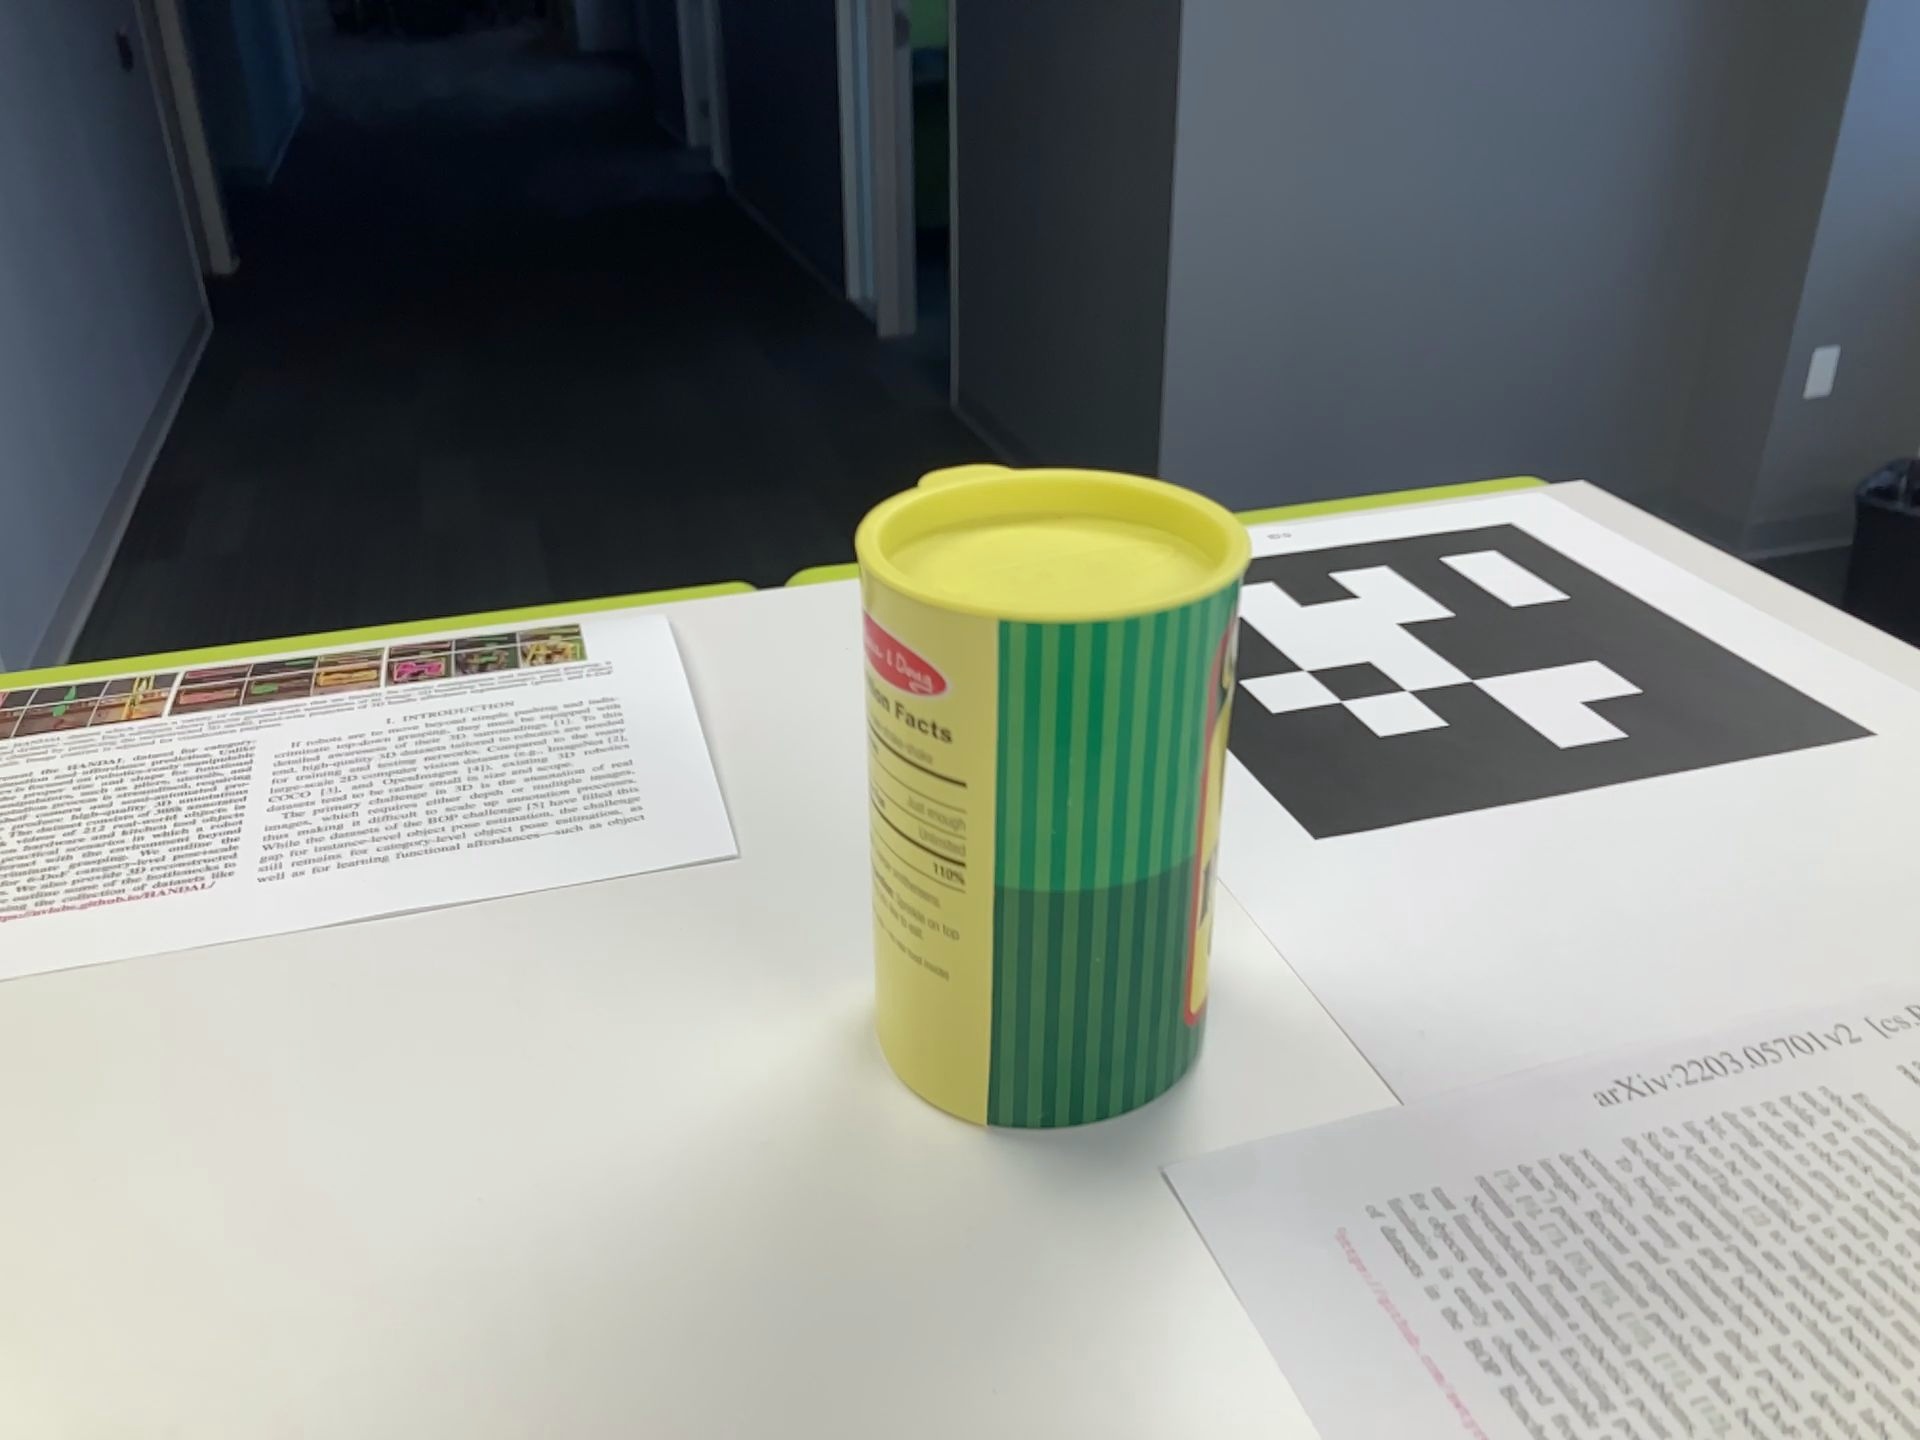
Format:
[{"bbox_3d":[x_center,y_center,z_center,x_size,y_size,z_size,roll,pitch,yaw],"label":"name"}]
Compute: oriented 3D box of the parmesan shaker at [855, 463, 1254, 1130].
[{"bbox_3d":[0.015,0.012,0.291,0.071,0.103,0.071,0,28,0],"label":"parmesan shaker"}]
